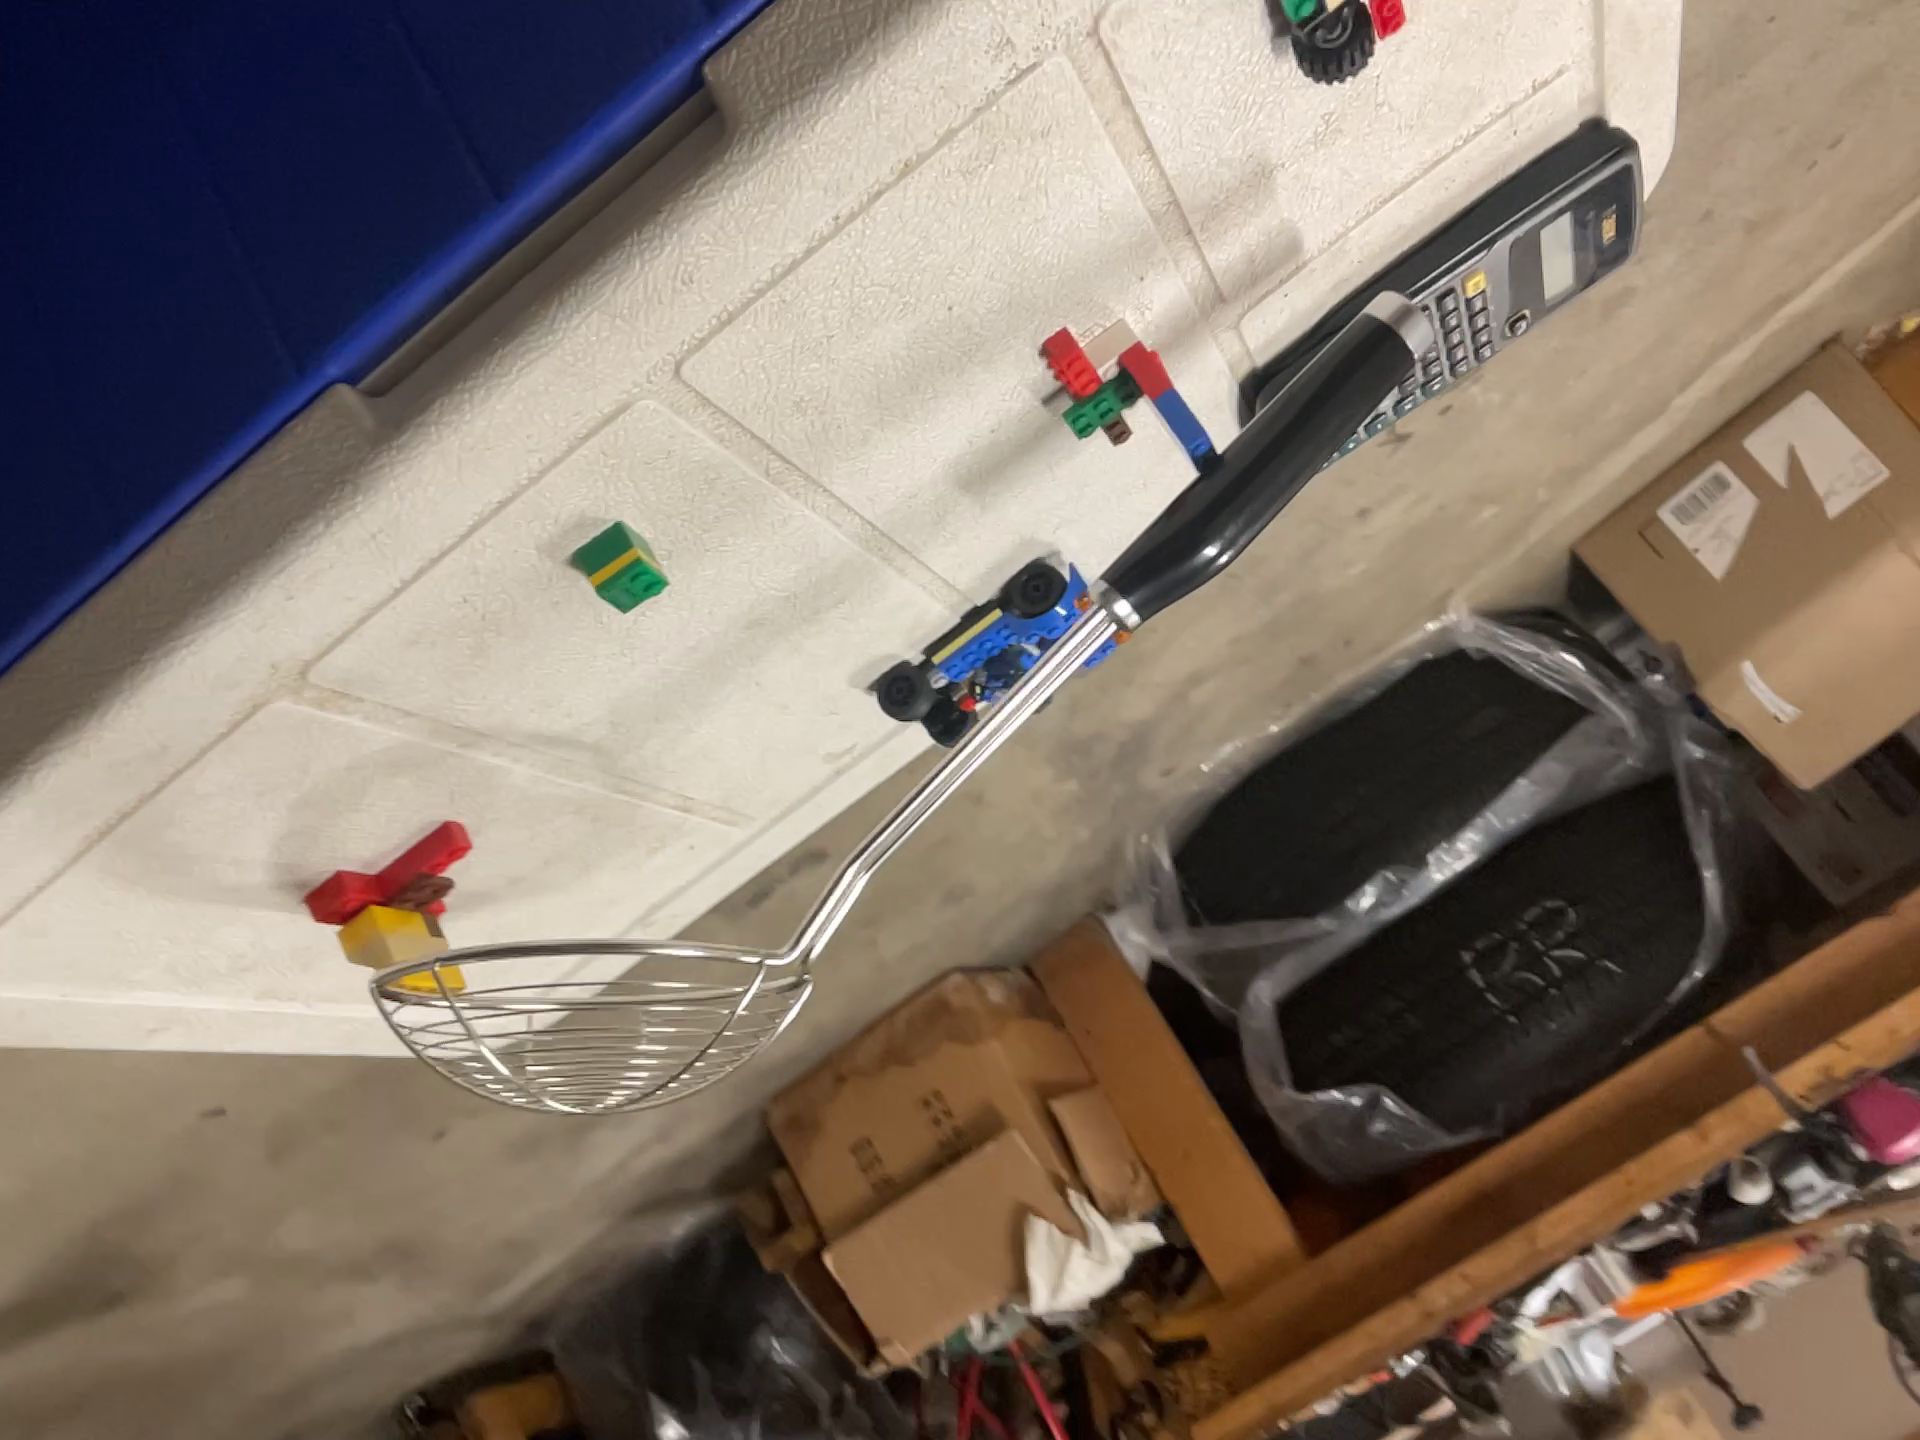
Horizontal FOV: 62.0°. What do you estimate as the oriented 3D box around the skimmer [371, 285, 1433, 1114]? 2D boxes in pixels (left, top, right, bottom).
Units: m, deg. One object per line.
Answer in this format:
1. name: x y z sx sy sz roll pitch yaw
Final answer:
1. skimmer: -0.017 -0.011 0.482 0.363 0.090 0.127 -45 157 1
